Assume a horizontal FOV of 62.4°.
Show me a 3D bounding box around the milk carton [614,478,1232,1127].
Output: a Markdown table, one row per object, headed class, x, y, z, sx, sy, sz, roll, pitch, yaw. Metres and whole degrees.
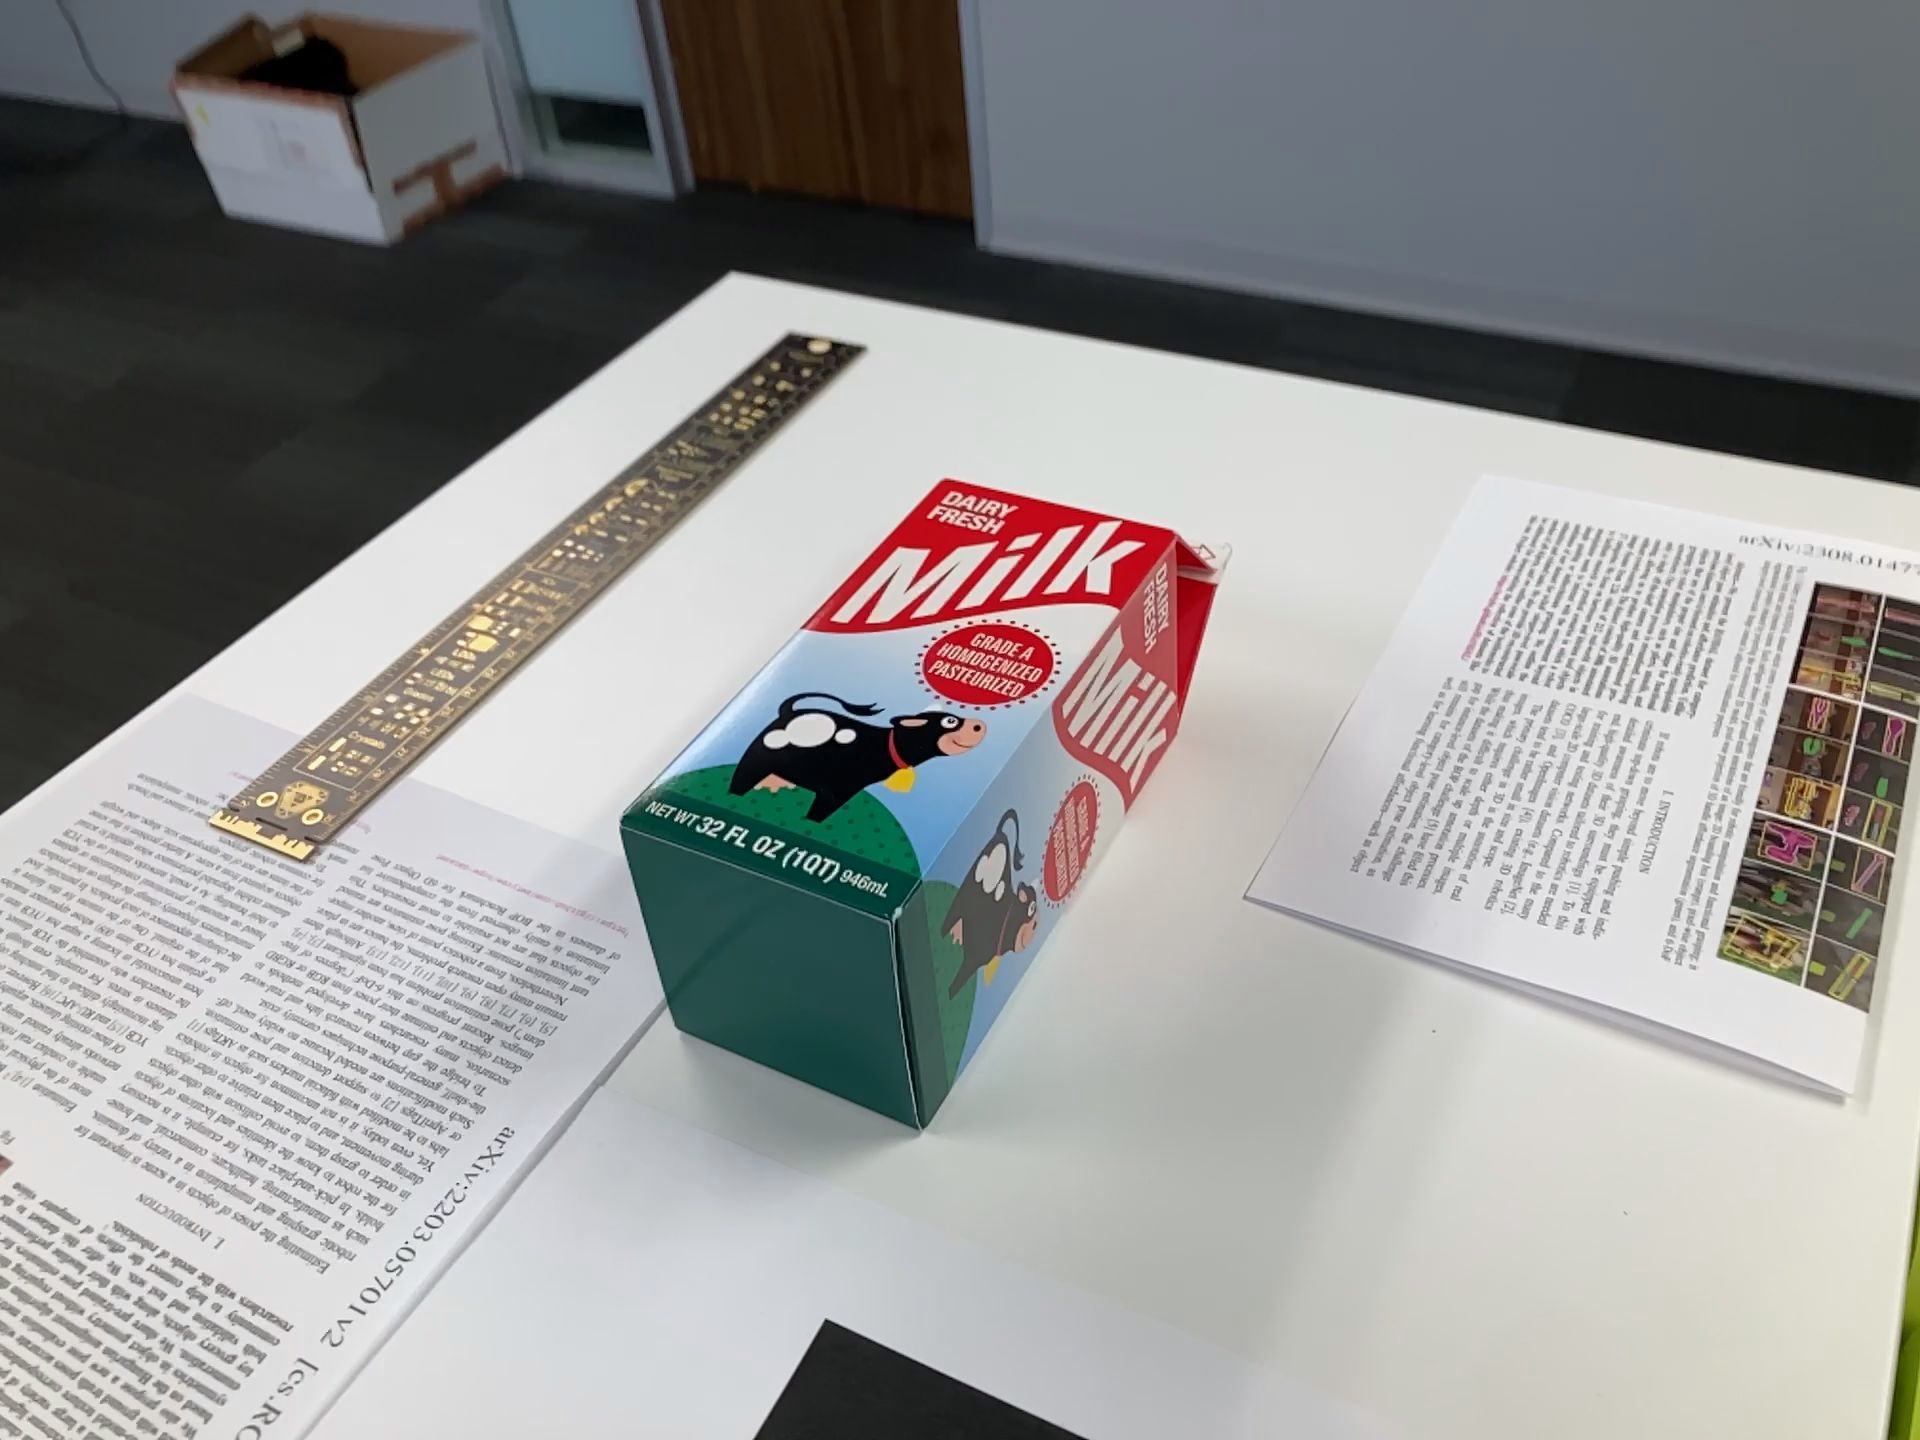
| class | x | y | z | sx | sy | sz | roll | pitch | yaw |
| --- | --- | --- | --- | --- | --- | --- | --- | --- | --- |
| milk carton | 0.003 | 0.000 | 0.408 | 0.072 | 0.073 | 0.190 | 15 | 44 | 24 |
